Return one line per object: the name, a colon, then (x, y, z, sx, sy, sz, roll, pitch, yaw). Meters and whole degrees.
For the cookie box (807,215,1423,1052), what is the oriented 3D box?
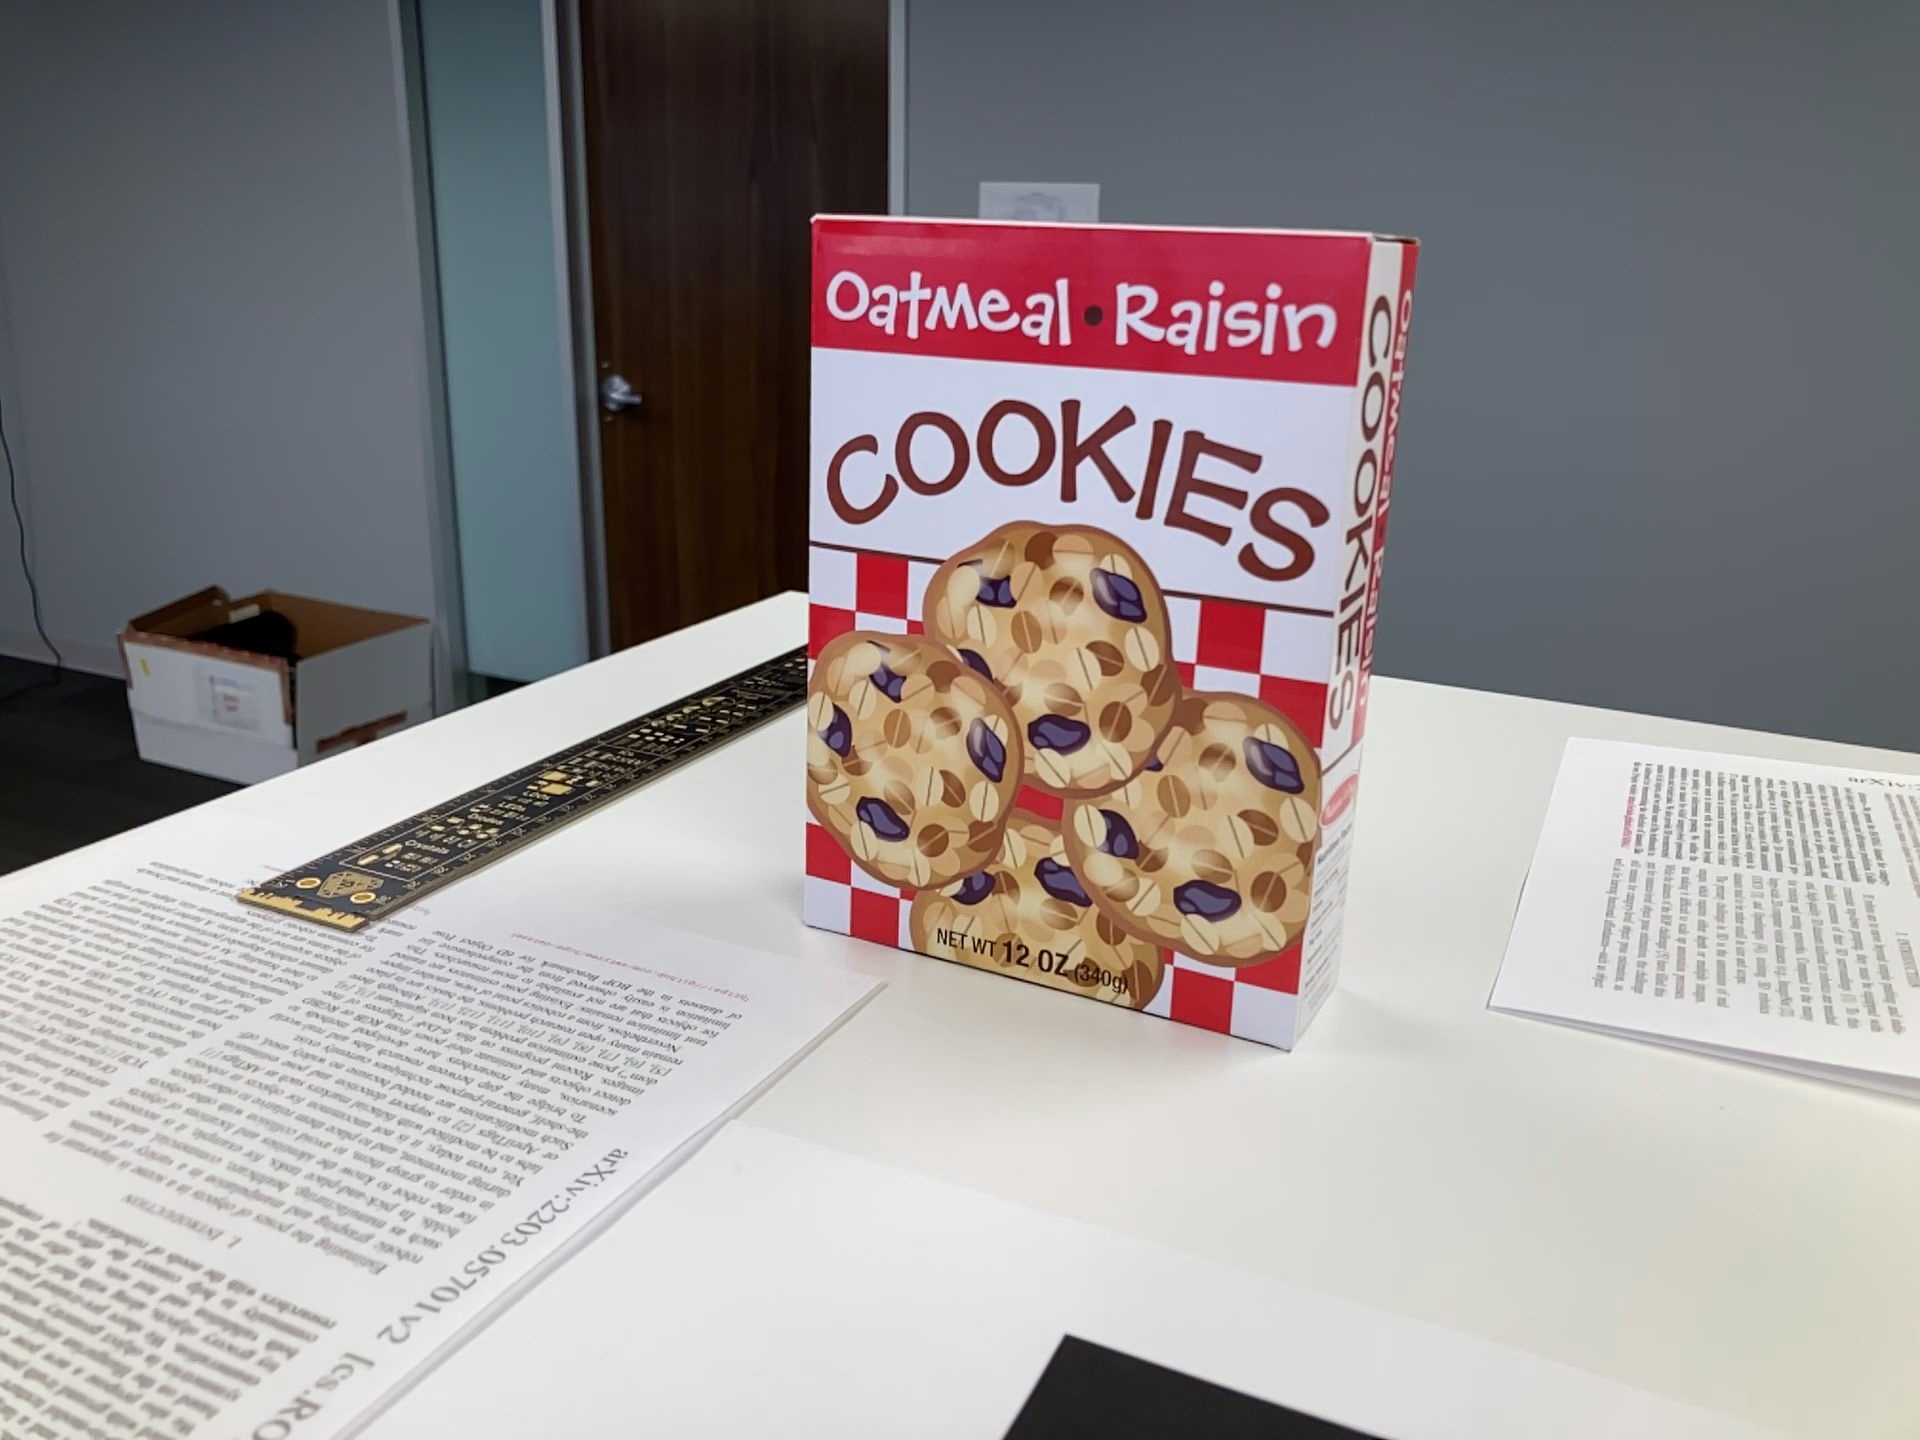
cookie box: (0.028, -0.024, 0.351, 0.123, 0.167, 0.040, 10, 19, 26)
